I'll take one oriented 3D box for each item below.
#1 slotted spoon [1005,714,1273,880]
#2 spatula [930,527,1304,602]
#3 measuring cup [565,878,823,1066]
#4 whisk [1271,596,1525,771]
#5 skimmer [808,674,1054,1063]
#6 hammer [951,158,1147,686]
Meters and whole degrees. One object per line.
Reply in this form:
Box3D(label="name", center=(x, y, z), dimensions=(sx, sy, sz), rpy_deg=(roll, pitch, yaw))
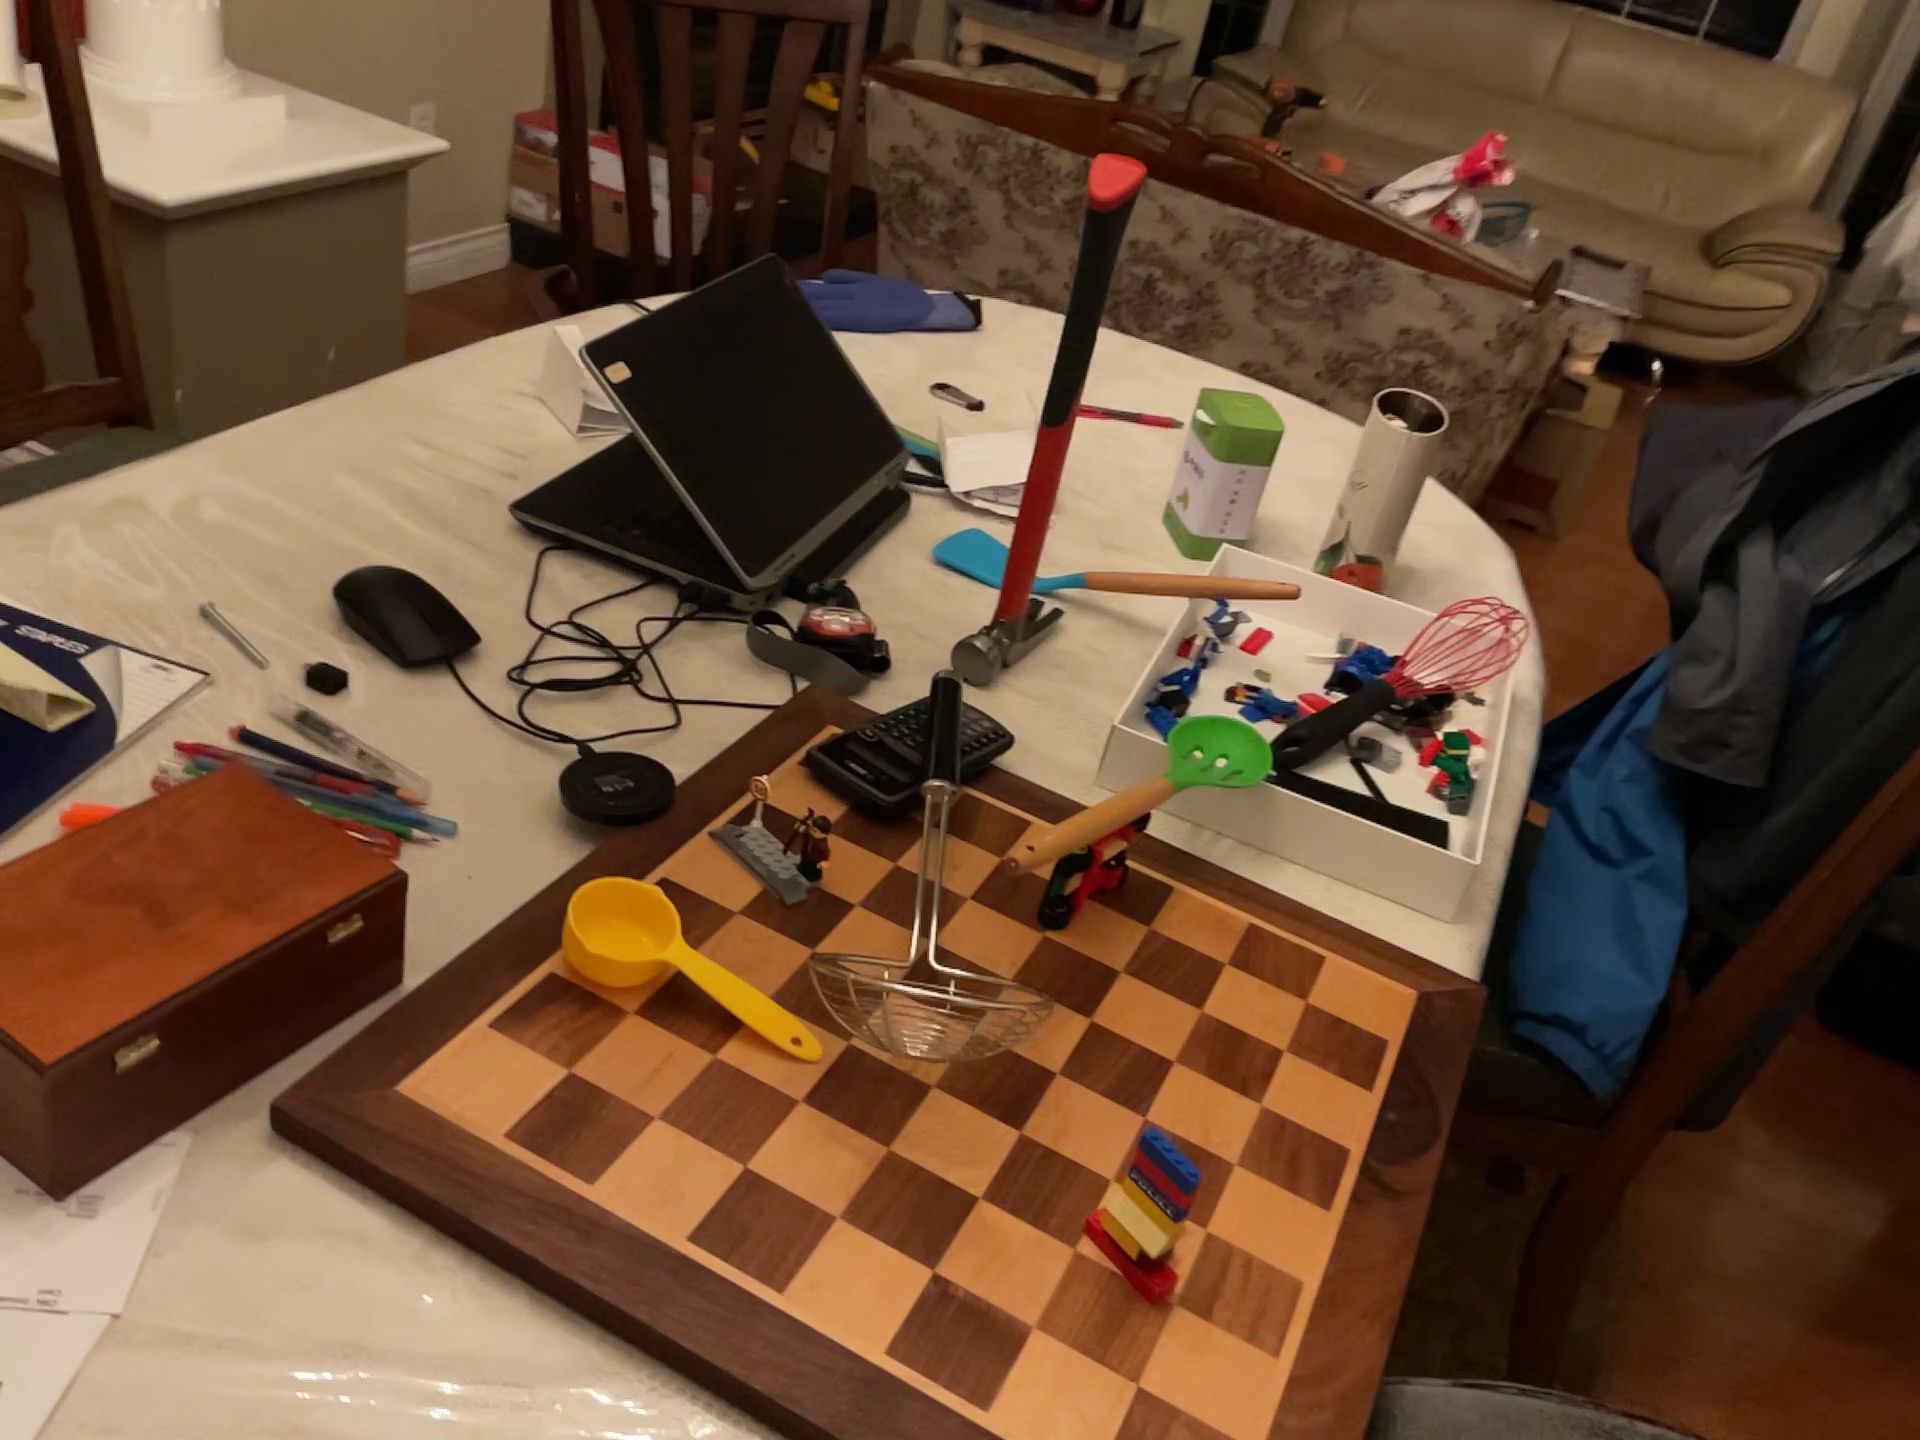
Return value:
Box3D(label="slotted spoon", center=(0.111, 0.047, 0.968), dimensions=(0.070, 0.031, 0.313), rpy_deg=(32, 27, 23))
Box3D(label="spatula", center=(0.129, -0.123, 1.313), dimensions=(0.318, 0.044, 0.082), rpy_deg=(7, 24, 30))
Box3D(label="measuring cup", center=(-0.140, 0.140, 0.831), dimensions=(0.156, 0.029, 0.062), rpy_deg=(34, 32, 8))
Box3D(label="whisk", center=(0.348, -0.028, 1.258), dimensions=(0.295, 0.073, 0.073), rpy_deg=(-27, 30, -28))
Box3D(label="skimmer", center=(-0.010, 0.061, 0.925), dimensions=(0.127, 0.090, 0.363), rpy_deg=(9, 36, -4))
Box3D(label="hammer", center=(0.076, -0.213, 1.162), dimensions=(0.038, 0.386, 0.143), rpy_deg=(25, 34, 17))
